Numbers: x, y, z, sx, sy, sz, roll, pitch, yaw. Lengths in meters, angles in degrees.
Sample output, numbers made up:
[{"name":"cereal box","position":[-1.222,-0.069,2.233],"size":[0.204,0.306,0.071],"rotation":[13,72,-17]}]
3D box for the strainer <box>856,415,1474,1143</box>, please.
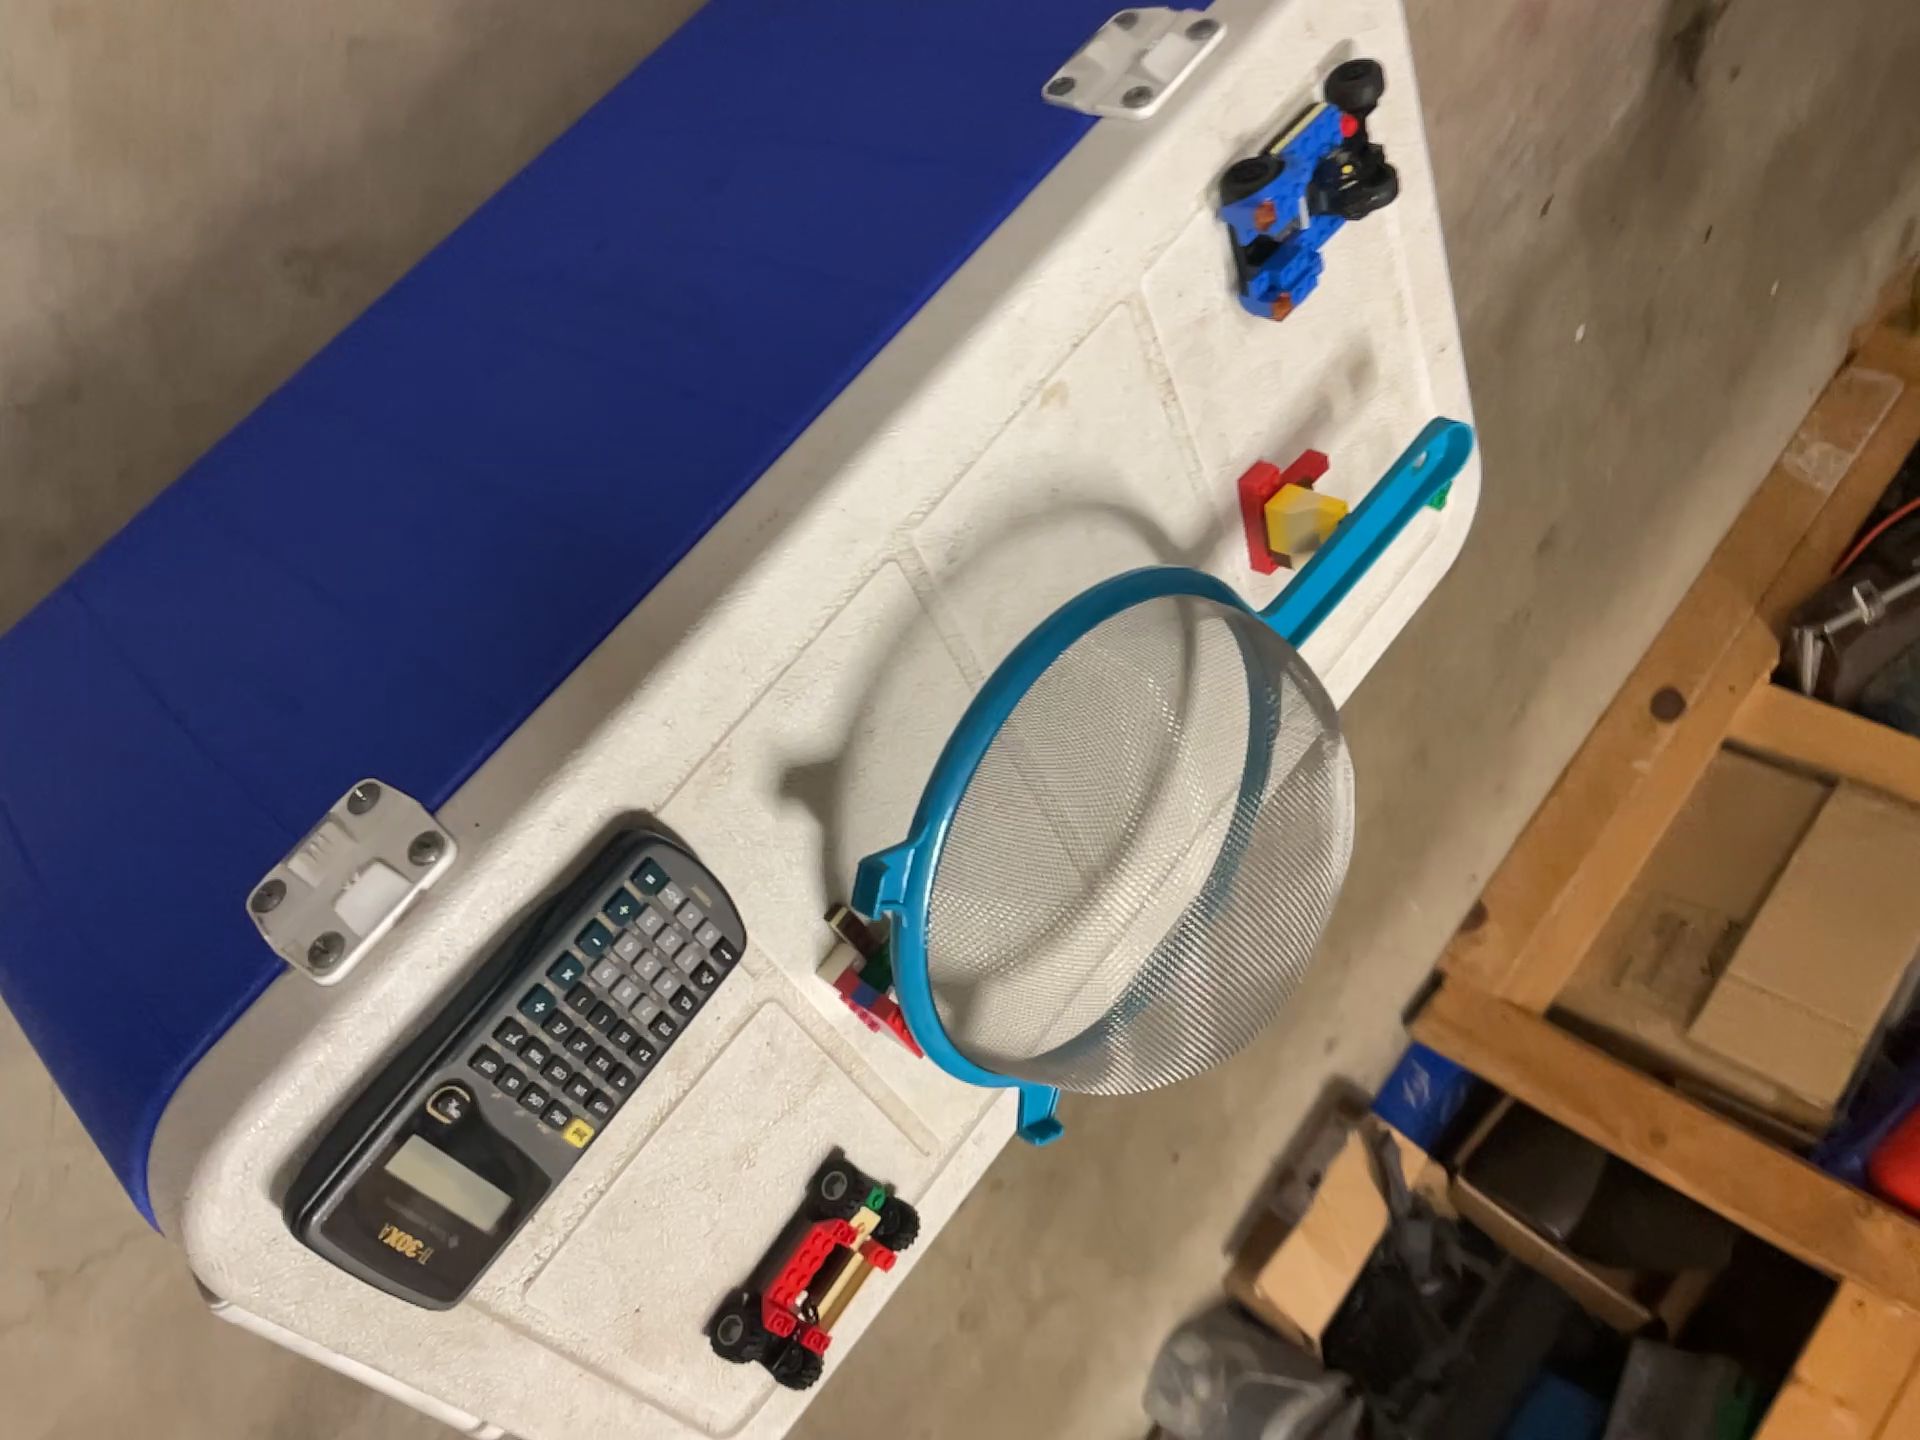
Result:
[{"name":"strainer","position":[0.124,0.012,0.596],"size":[0.340,0.095,0.210],"rotation":[-48,139,-17]}]
